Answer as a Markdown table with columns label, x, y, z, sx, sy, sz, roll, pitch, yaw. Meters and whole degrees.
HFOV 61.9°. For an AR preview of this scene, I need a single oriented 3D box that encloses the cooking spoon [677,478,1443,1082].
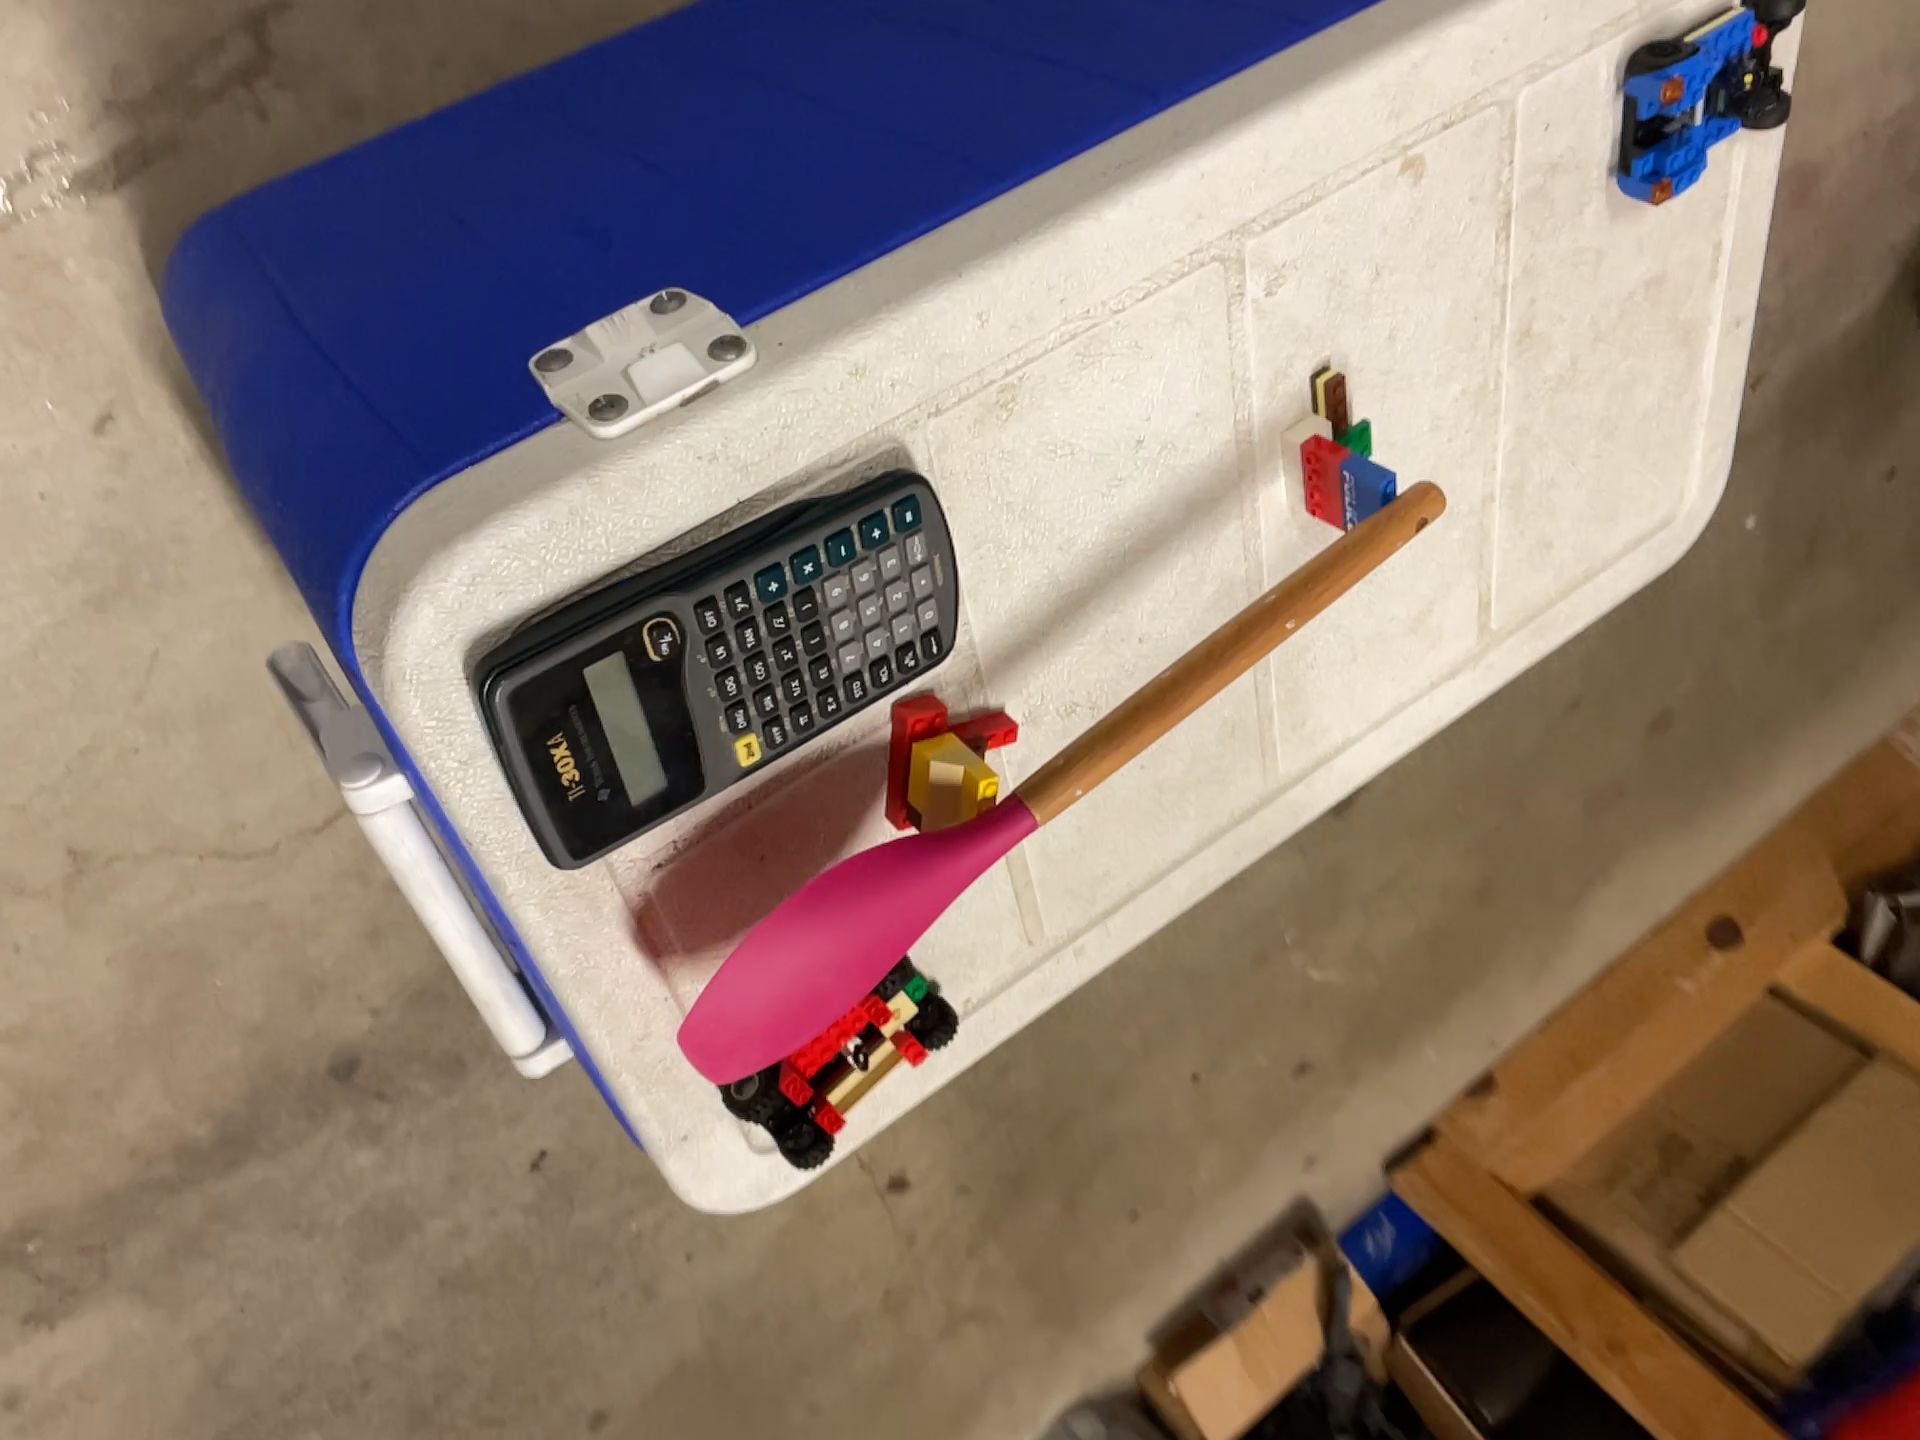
| label | x | y | z | sx | sy | sz | roll | pitch | yaw |
| --- | --- | --- | --- | --- | --- | --- | --- | --- | --- |
| cooking spoon | 0.041 | 0.014 | 0.532 | 0.319 | 0.017 | 0.068 | -37 | 141 | -11 |
